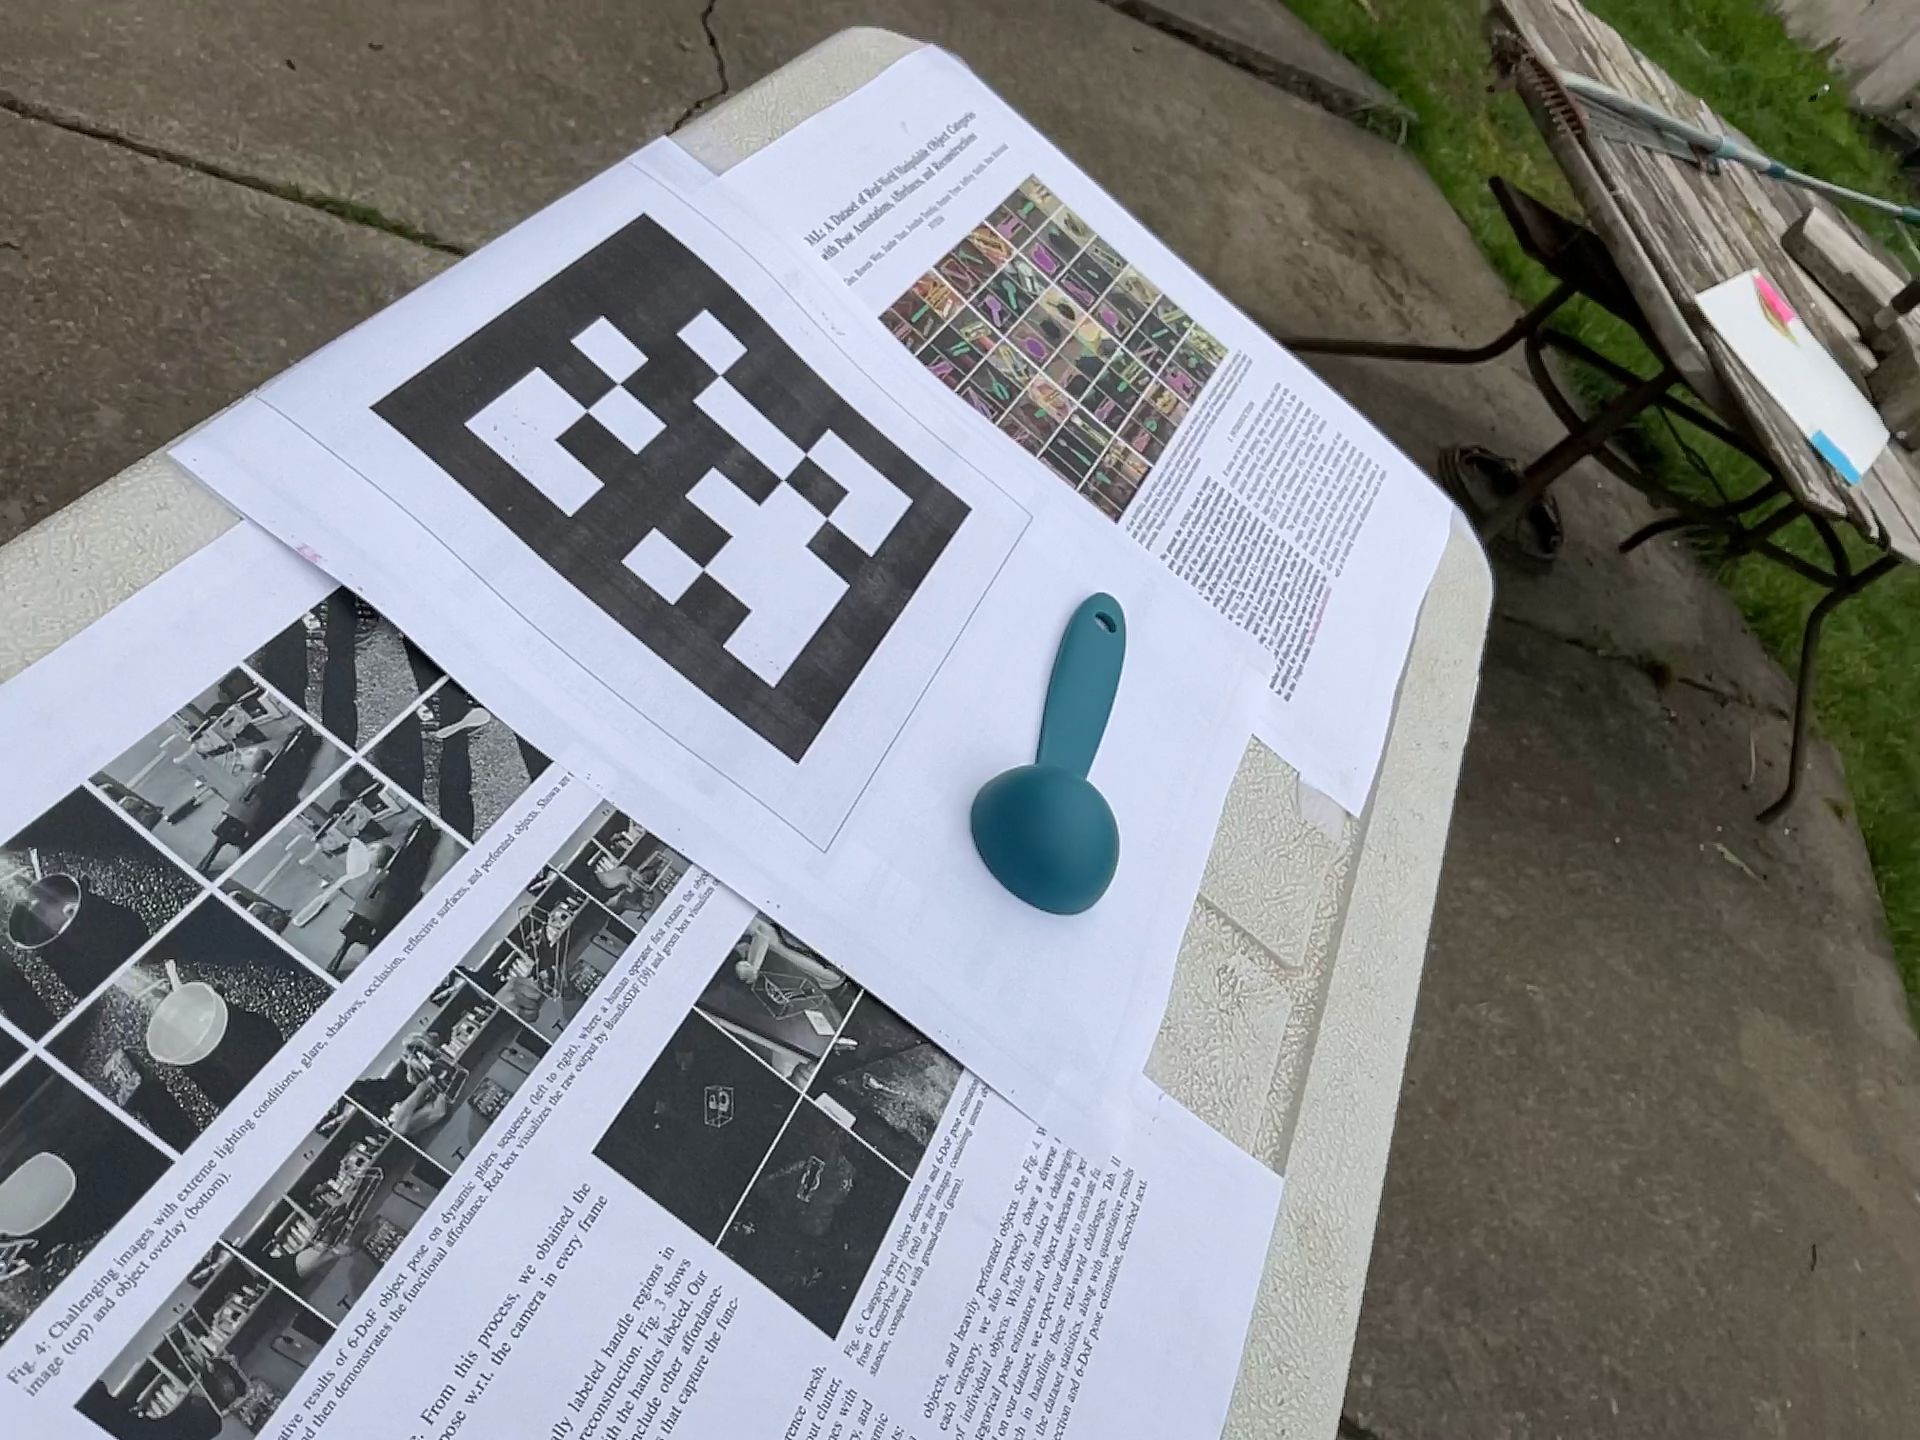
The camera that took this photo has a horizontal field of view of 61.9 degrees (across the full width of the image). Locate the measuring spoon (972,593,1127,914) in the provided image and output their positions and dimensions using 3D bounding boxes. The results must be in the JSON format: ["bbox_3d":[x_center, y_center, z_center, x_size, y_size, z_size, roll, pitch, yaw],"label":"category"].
[{"bbox_3d":[0.035,-0.001,0.446,0.042,0.021,0.129,29,42,-10],"label":"measuring spoon"}]
